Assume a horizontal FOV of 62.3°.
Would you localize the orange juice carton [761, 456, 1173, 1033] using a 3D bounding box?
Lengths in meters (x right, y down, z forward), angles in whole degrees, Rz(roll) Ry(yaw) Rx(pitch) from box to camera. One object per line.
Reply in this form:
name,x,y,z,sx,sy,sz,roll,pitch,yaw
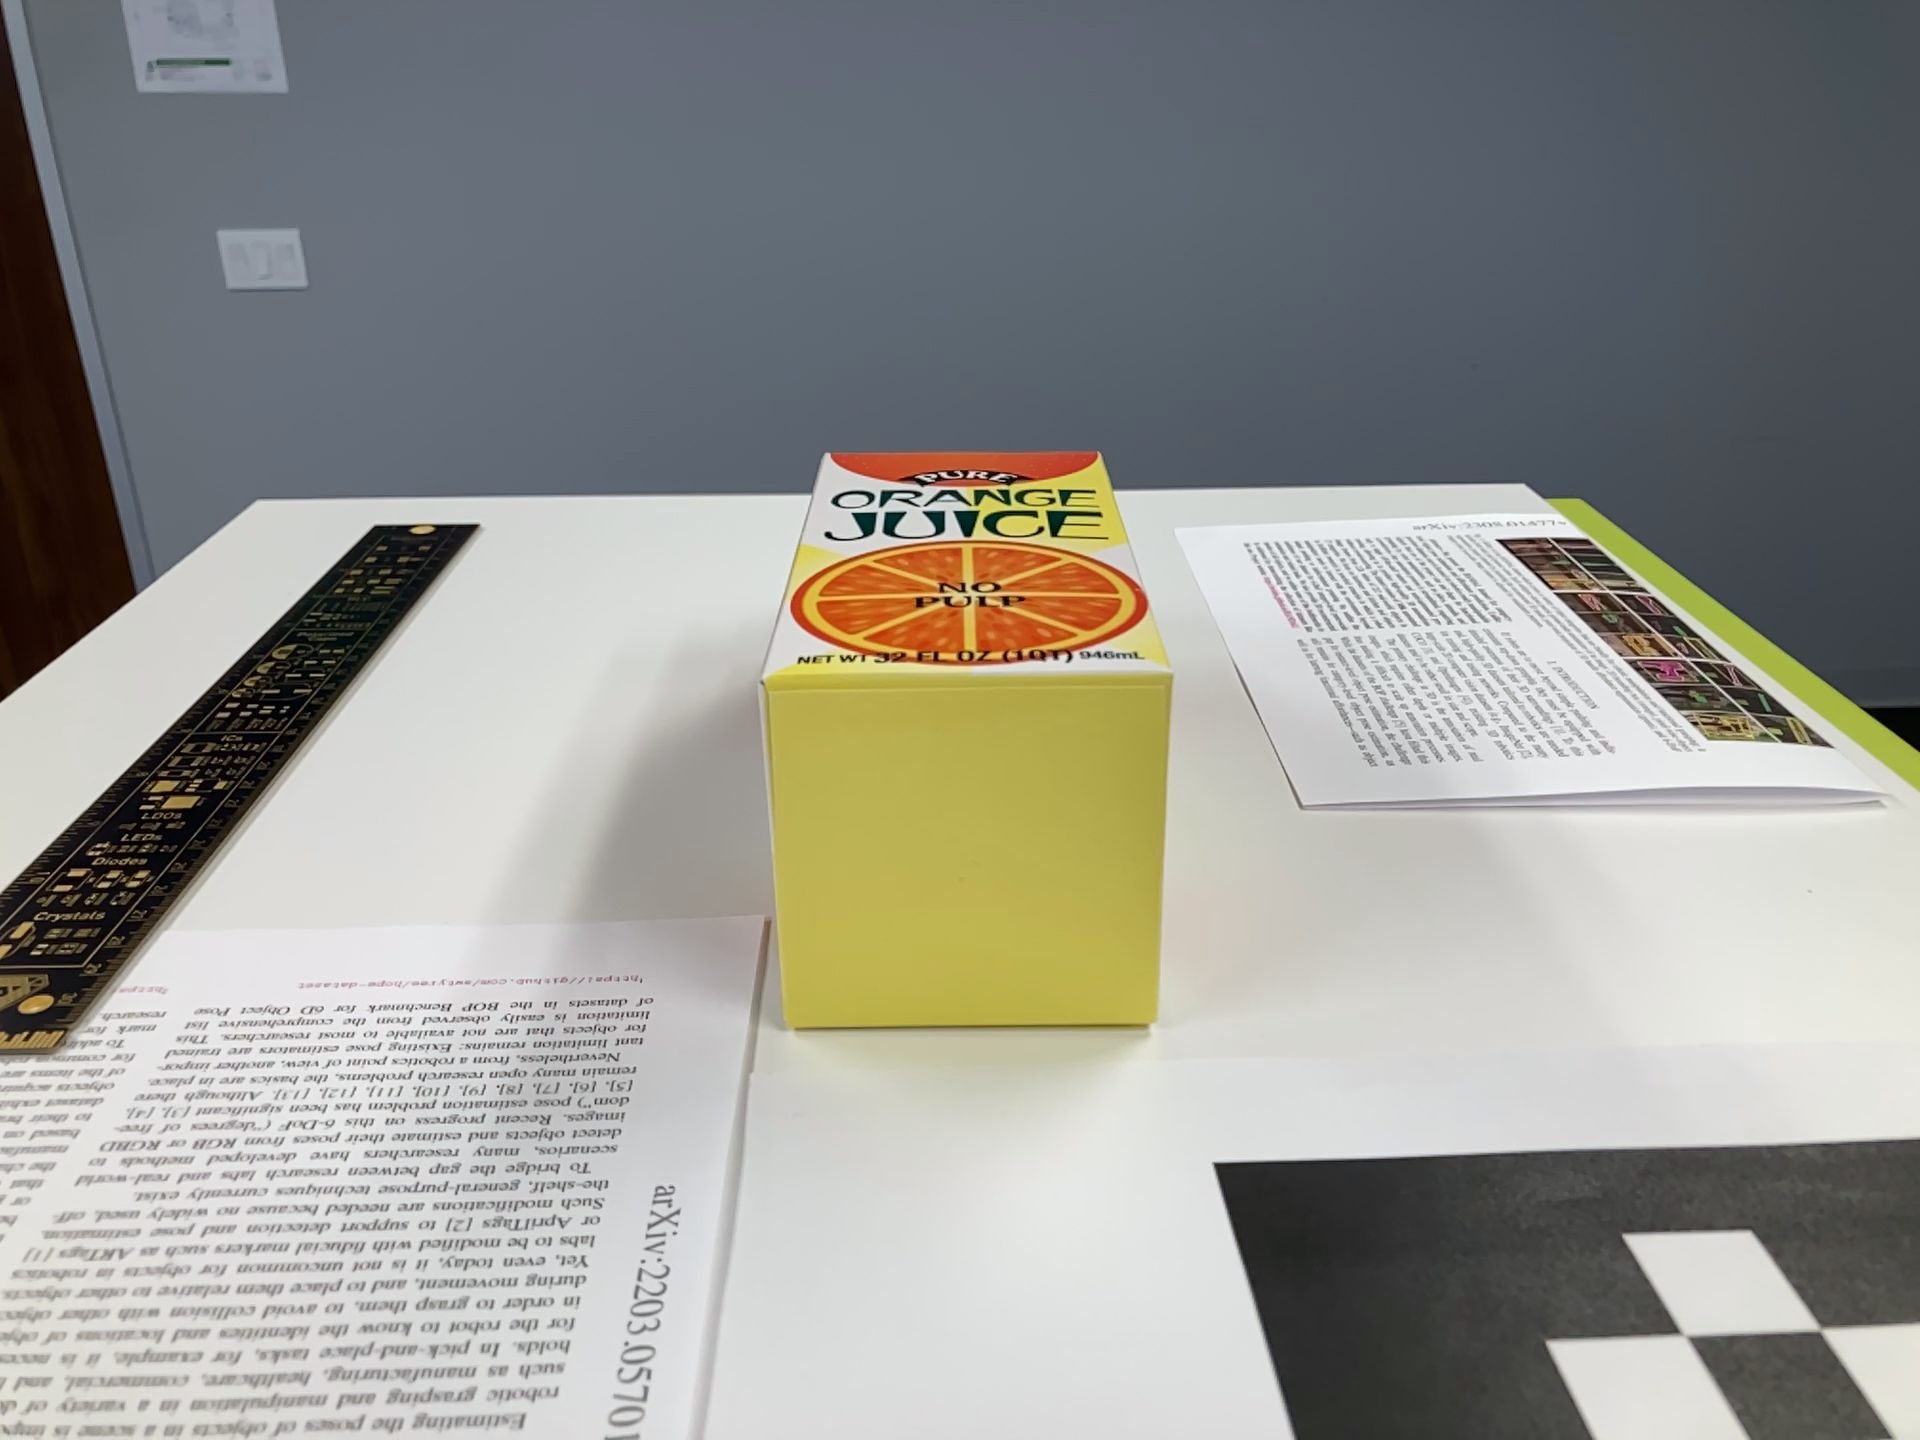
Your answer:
orange juice carton,0.001,-0.013,0.369,0.072,0.073,0.192,-1,24,0
